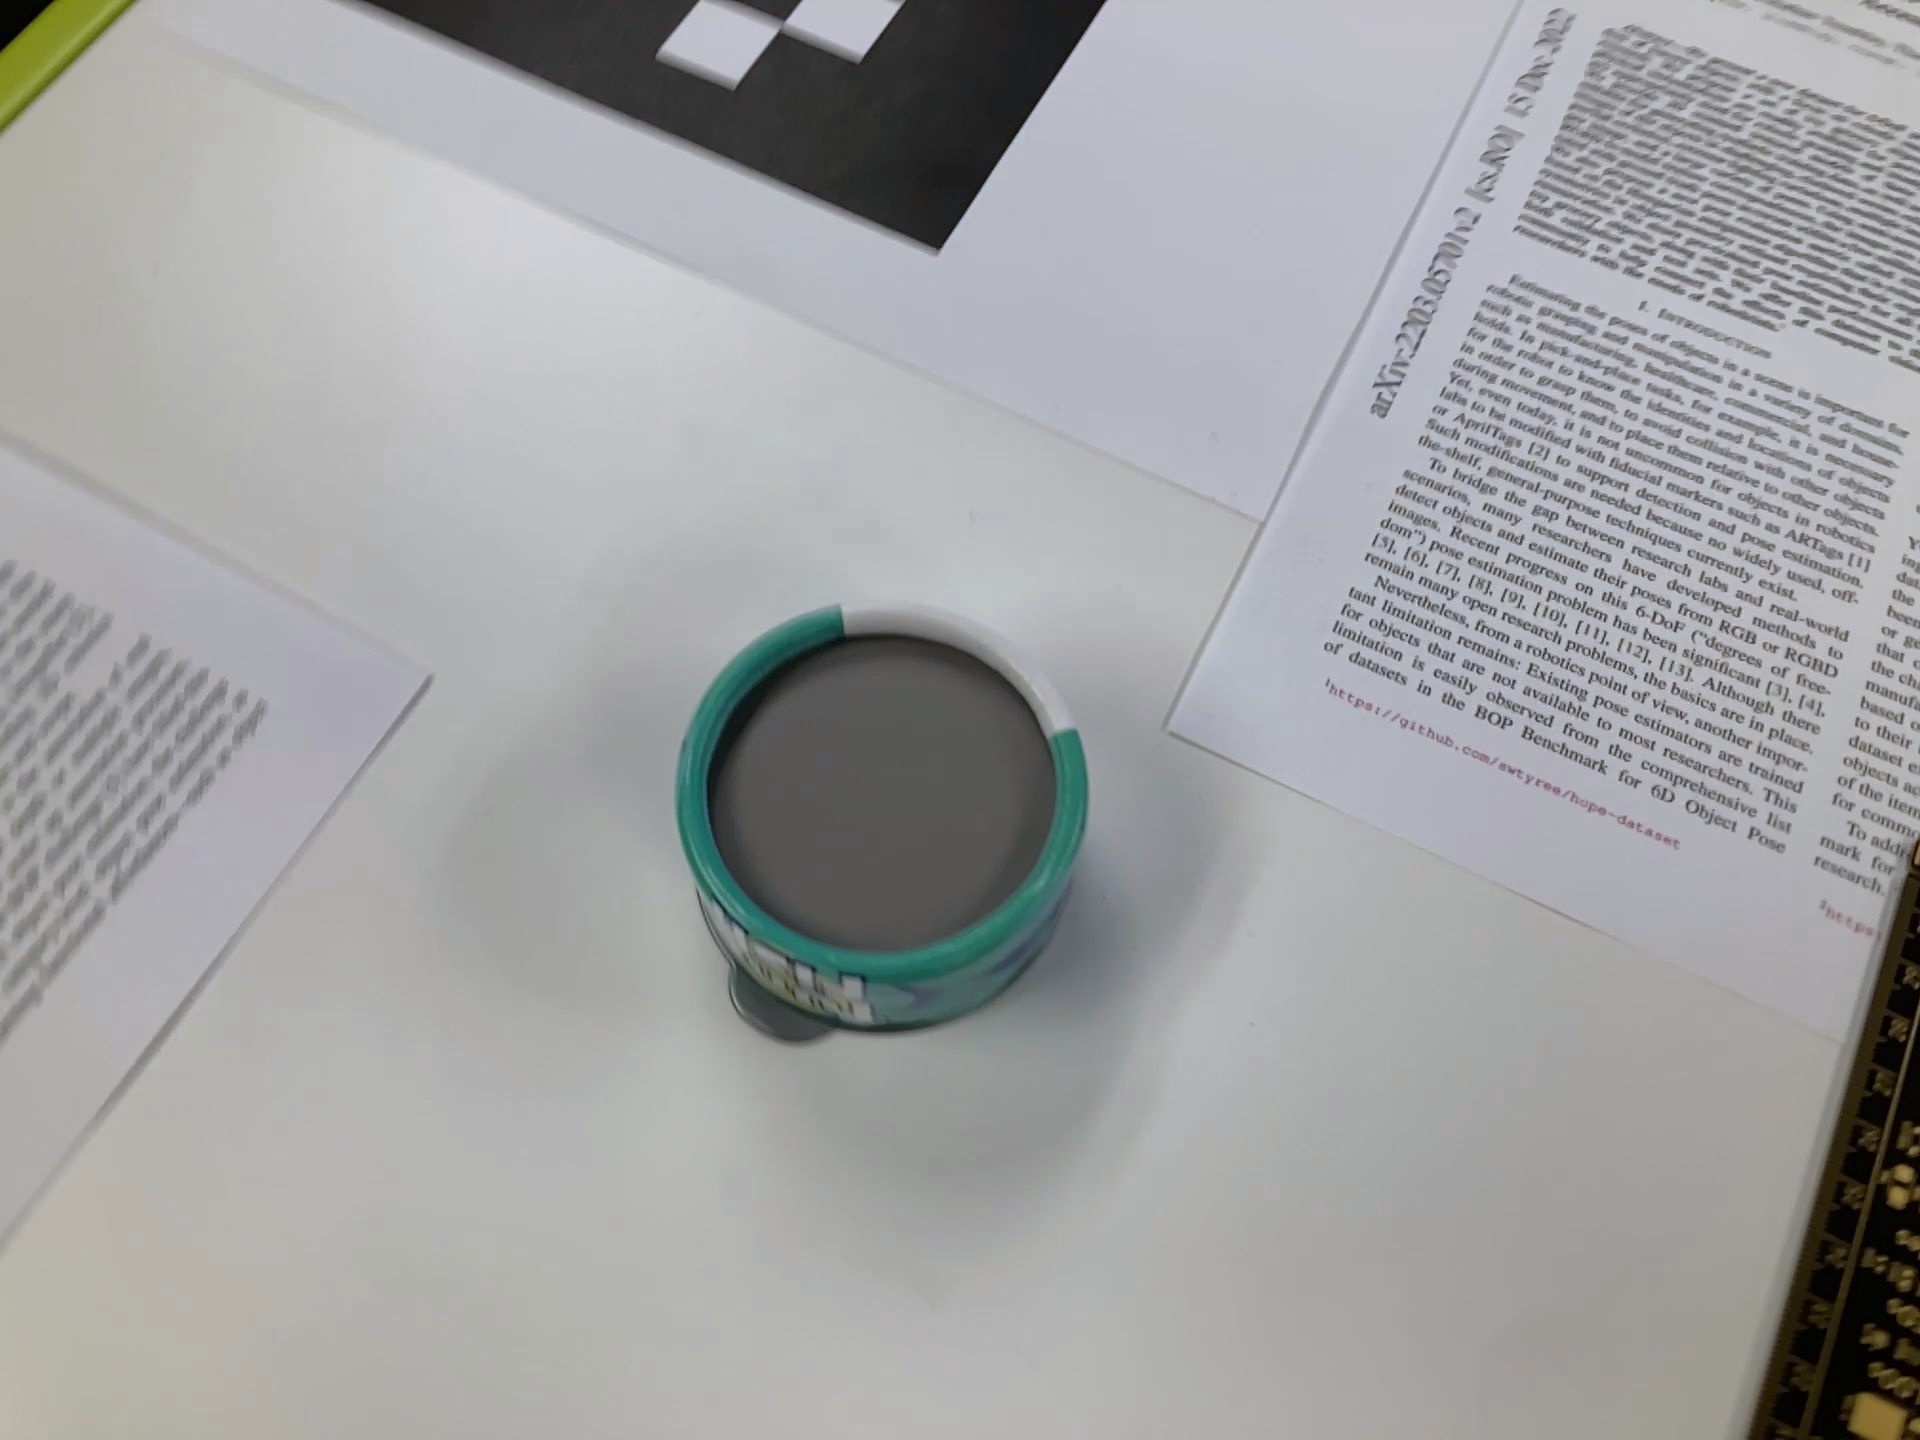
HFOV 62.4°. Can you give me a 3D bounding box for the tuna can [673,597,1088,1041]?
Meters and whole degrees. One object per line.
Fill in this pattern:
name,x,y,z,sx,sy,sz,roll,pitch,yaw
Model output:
tuna can,-0.014,0.017,0.260,0.071,0.033,0.071,0,66,0
